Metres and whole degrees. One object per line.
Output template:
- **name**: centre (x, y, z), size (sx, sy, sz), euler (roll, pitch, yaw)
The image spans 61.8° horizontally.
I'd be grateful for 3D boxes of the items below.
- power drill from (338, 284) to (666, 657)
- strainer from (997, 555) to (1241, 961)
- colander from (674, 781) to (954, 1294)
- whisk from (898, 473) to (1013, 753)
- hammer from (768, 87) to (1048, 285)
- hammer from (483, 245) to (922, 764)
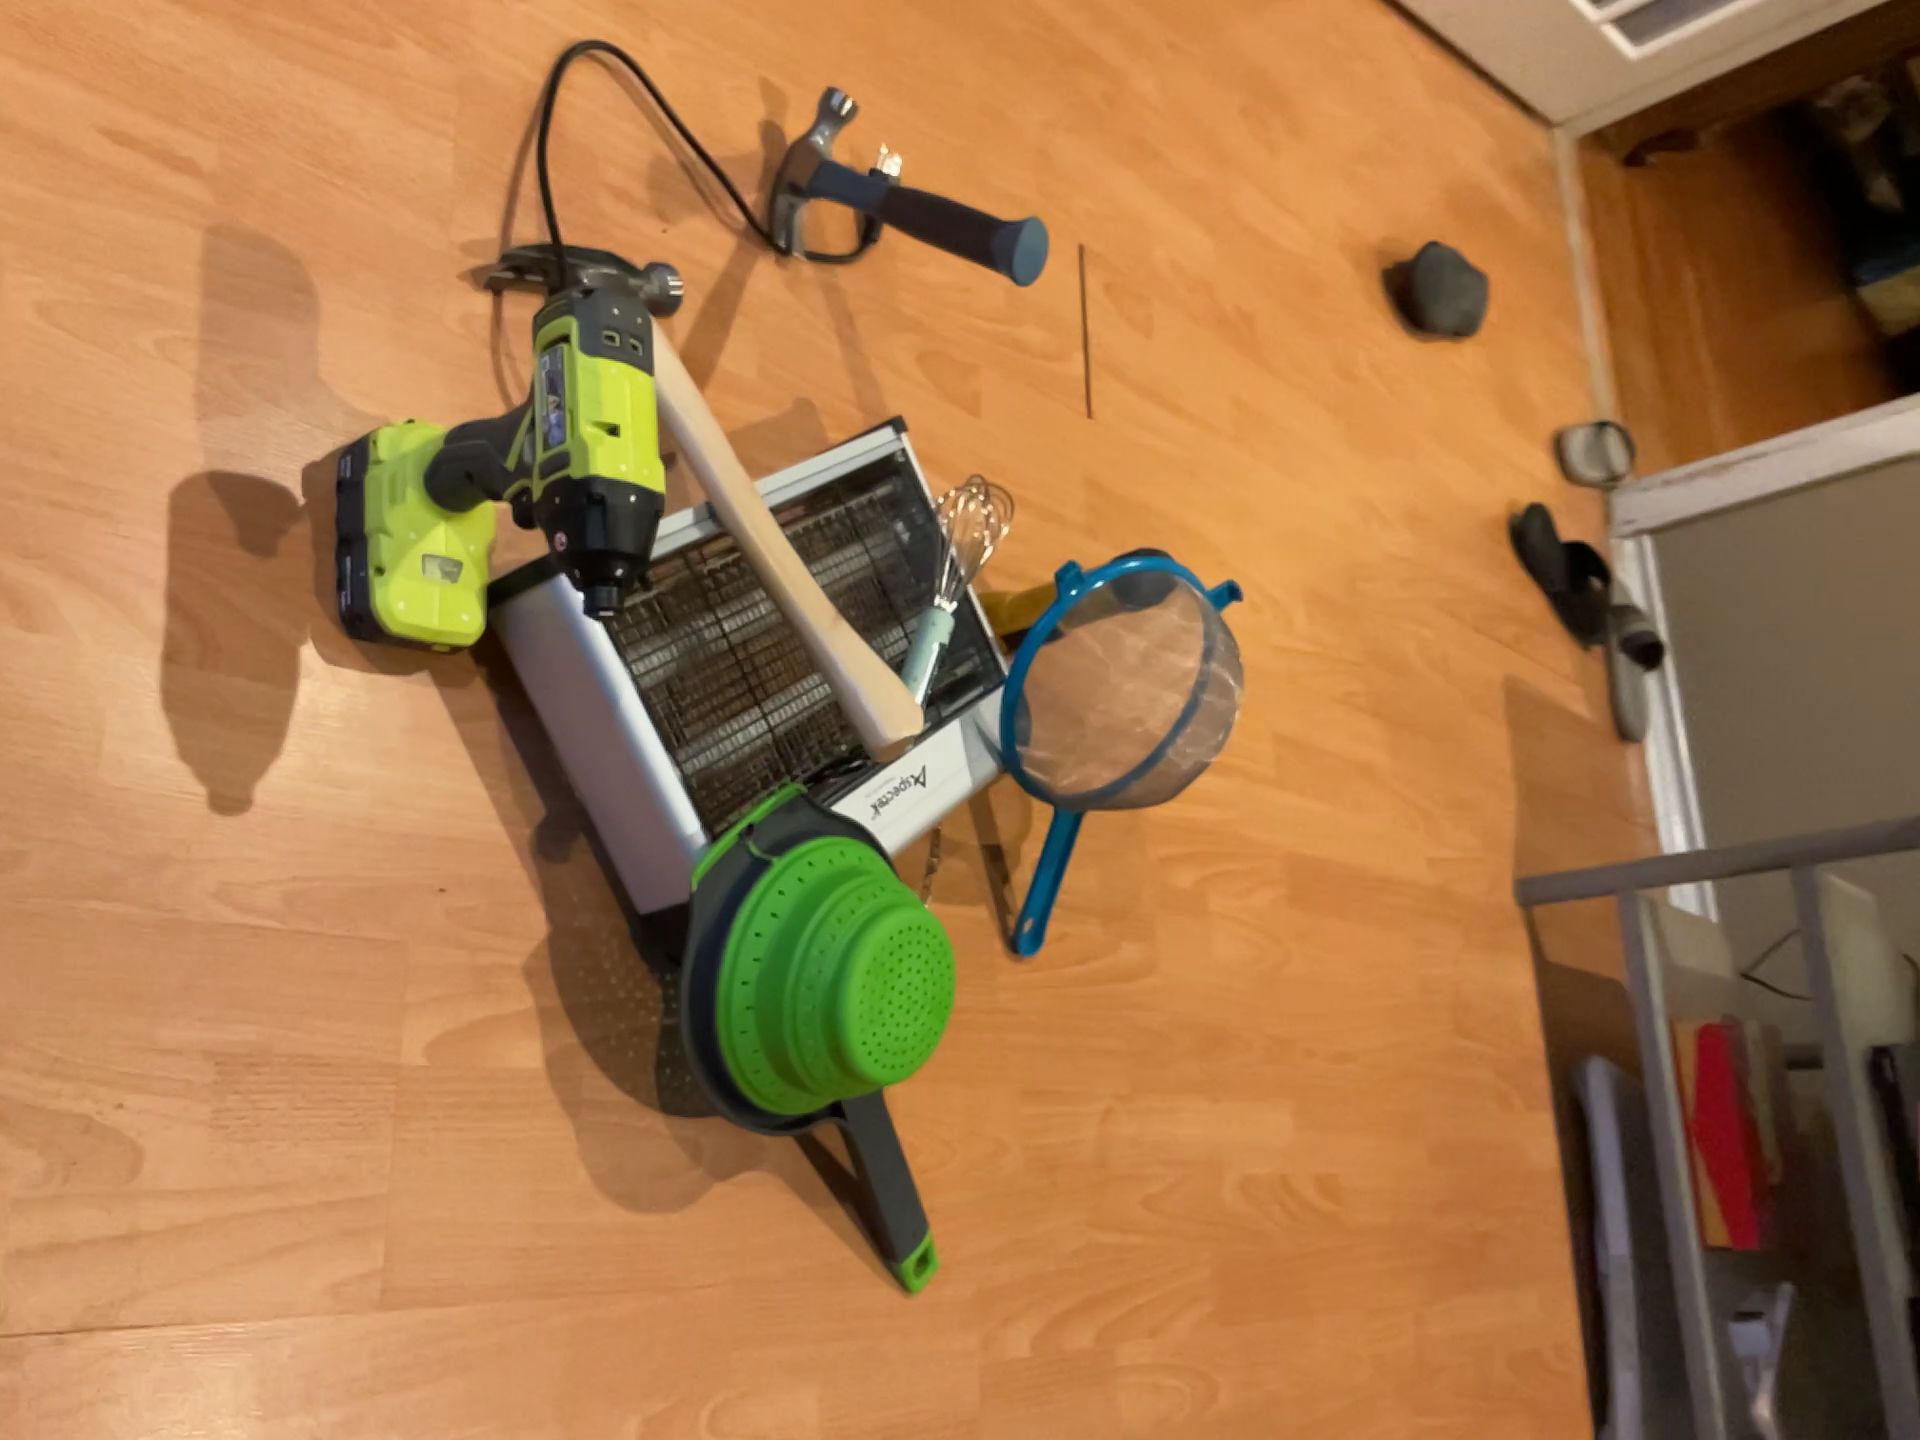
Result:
- **power drill**: centre (-0.248, -0.117, 0.874), size (0.080, 0.223, 0.171), euler (10, 70, -48)
- **strainer**: centre (0.121, 0.049, 1.221), size (0.211, 0.095, 0.340), euler (2, 112, -39)
- **colander**: centre (-0.050, 0.230, 1.024), size (0.205, 0.094, 0.396), euler (-43, 127, -41)
- **whisk**: centre (-0.013, -0.081, 1.157), size (0.057, 0.059, 0.246), euler (72, 30, -54)
- **hammer**: centre (-0.043, -0.374, 1.163), size (0.033, 0.331, 0.128), euler (25, 99, -43)
- **hammer**: centre (-0.153, -0.144, 1.024), size (0.146, 0.038, 0.410), euler (-11, 62, -52)
